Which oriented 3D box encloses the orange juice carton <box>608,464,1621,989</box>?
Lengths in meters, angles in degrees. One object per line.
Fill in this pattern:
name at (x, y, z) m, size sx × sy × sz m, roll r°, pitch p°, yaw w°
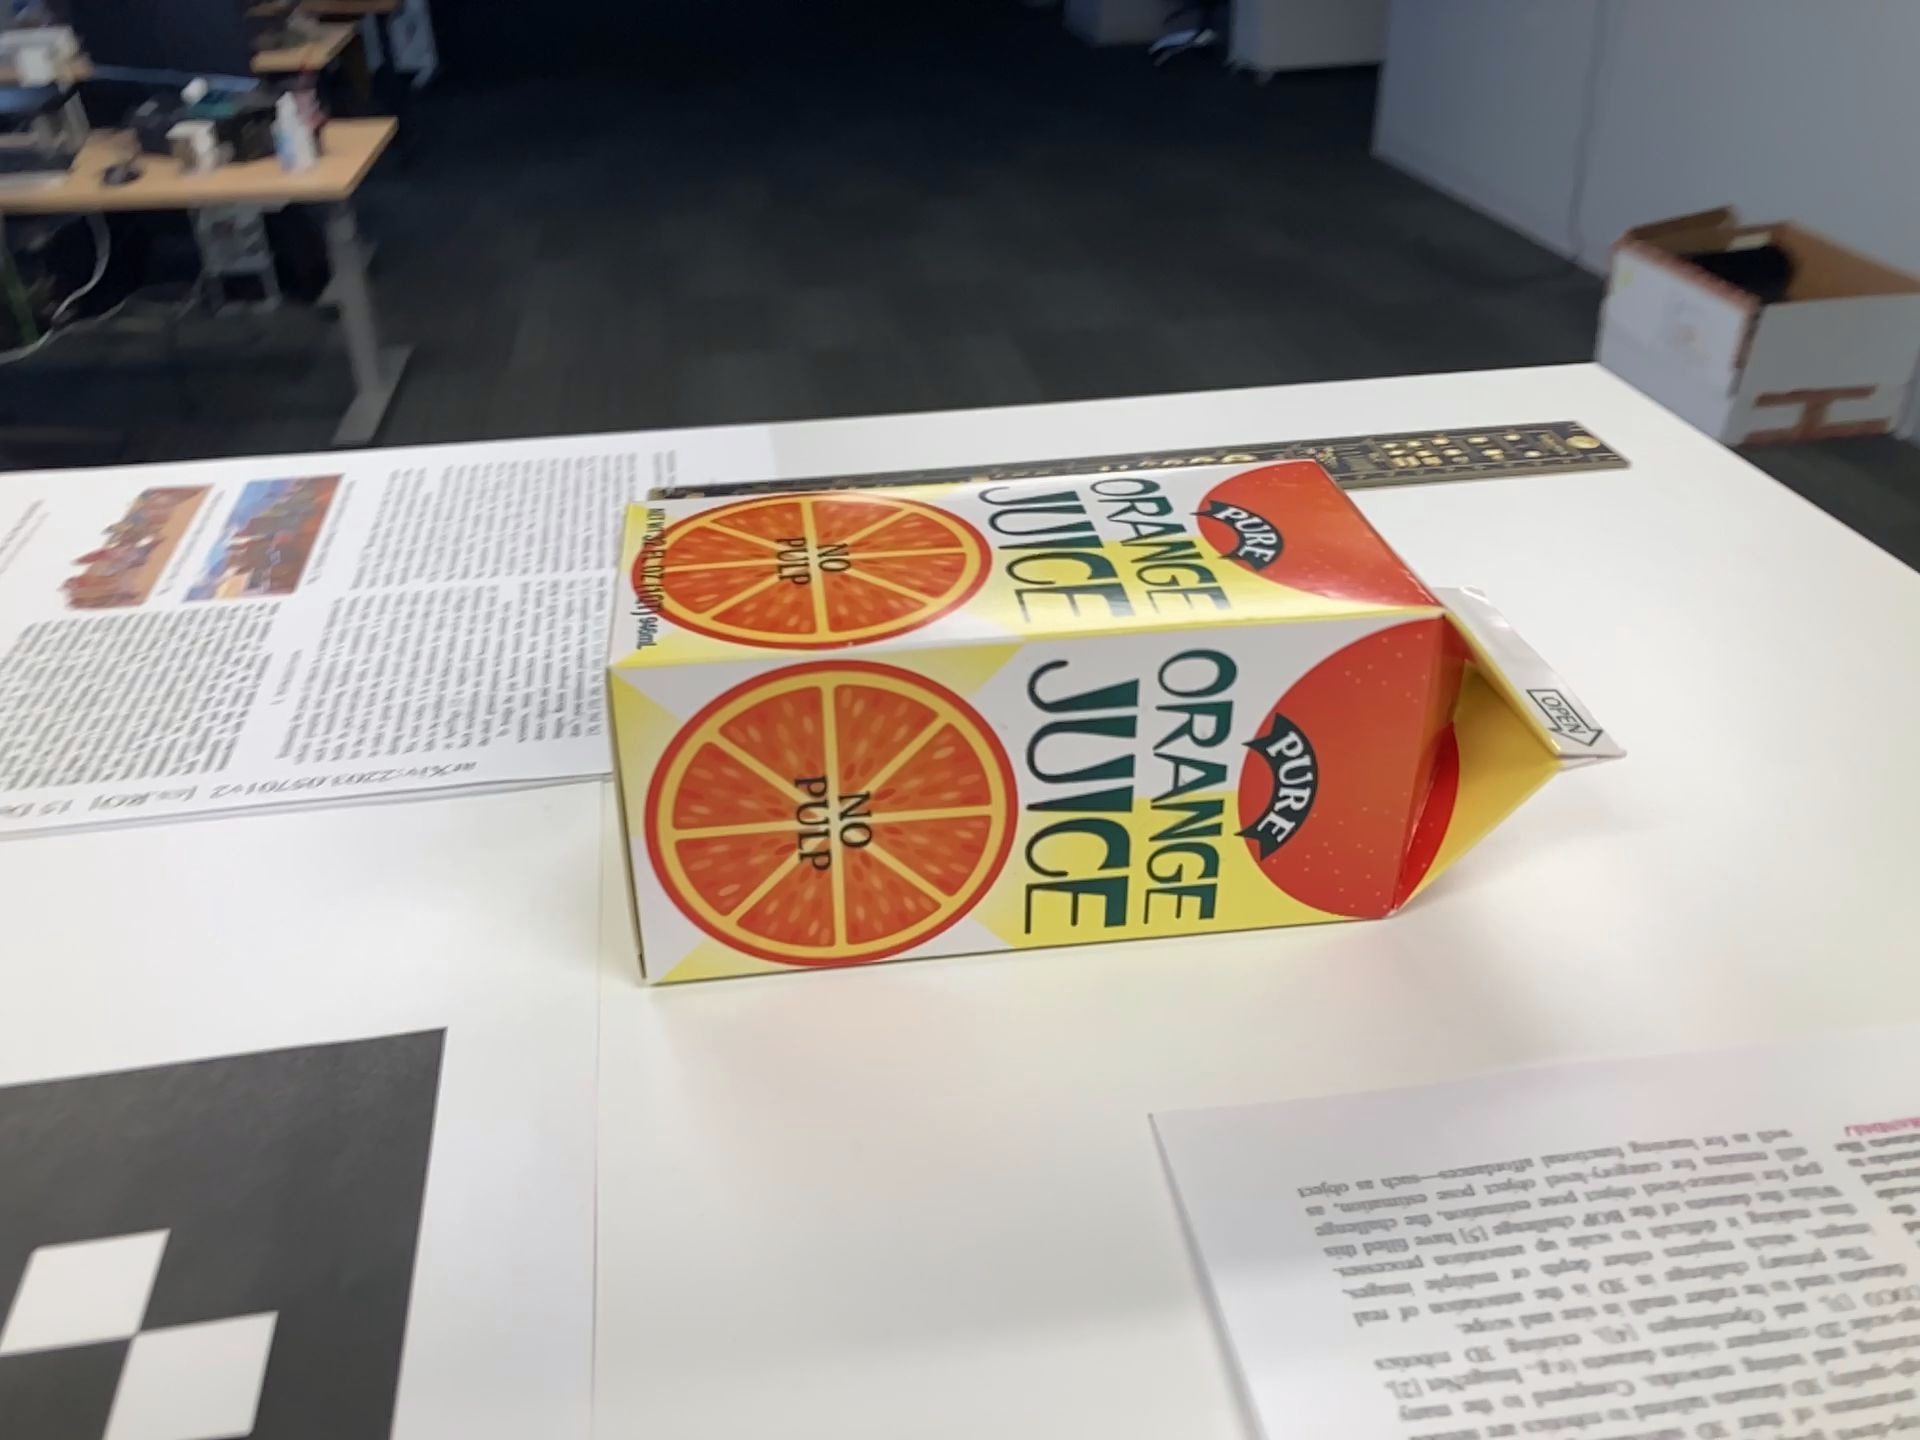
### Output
orange juice carton at (0.029, -0.003, 0.328) m, size 0.192 × 0.073 × 0.072 m, roll -5°, pitch 31°, yaw -6°
